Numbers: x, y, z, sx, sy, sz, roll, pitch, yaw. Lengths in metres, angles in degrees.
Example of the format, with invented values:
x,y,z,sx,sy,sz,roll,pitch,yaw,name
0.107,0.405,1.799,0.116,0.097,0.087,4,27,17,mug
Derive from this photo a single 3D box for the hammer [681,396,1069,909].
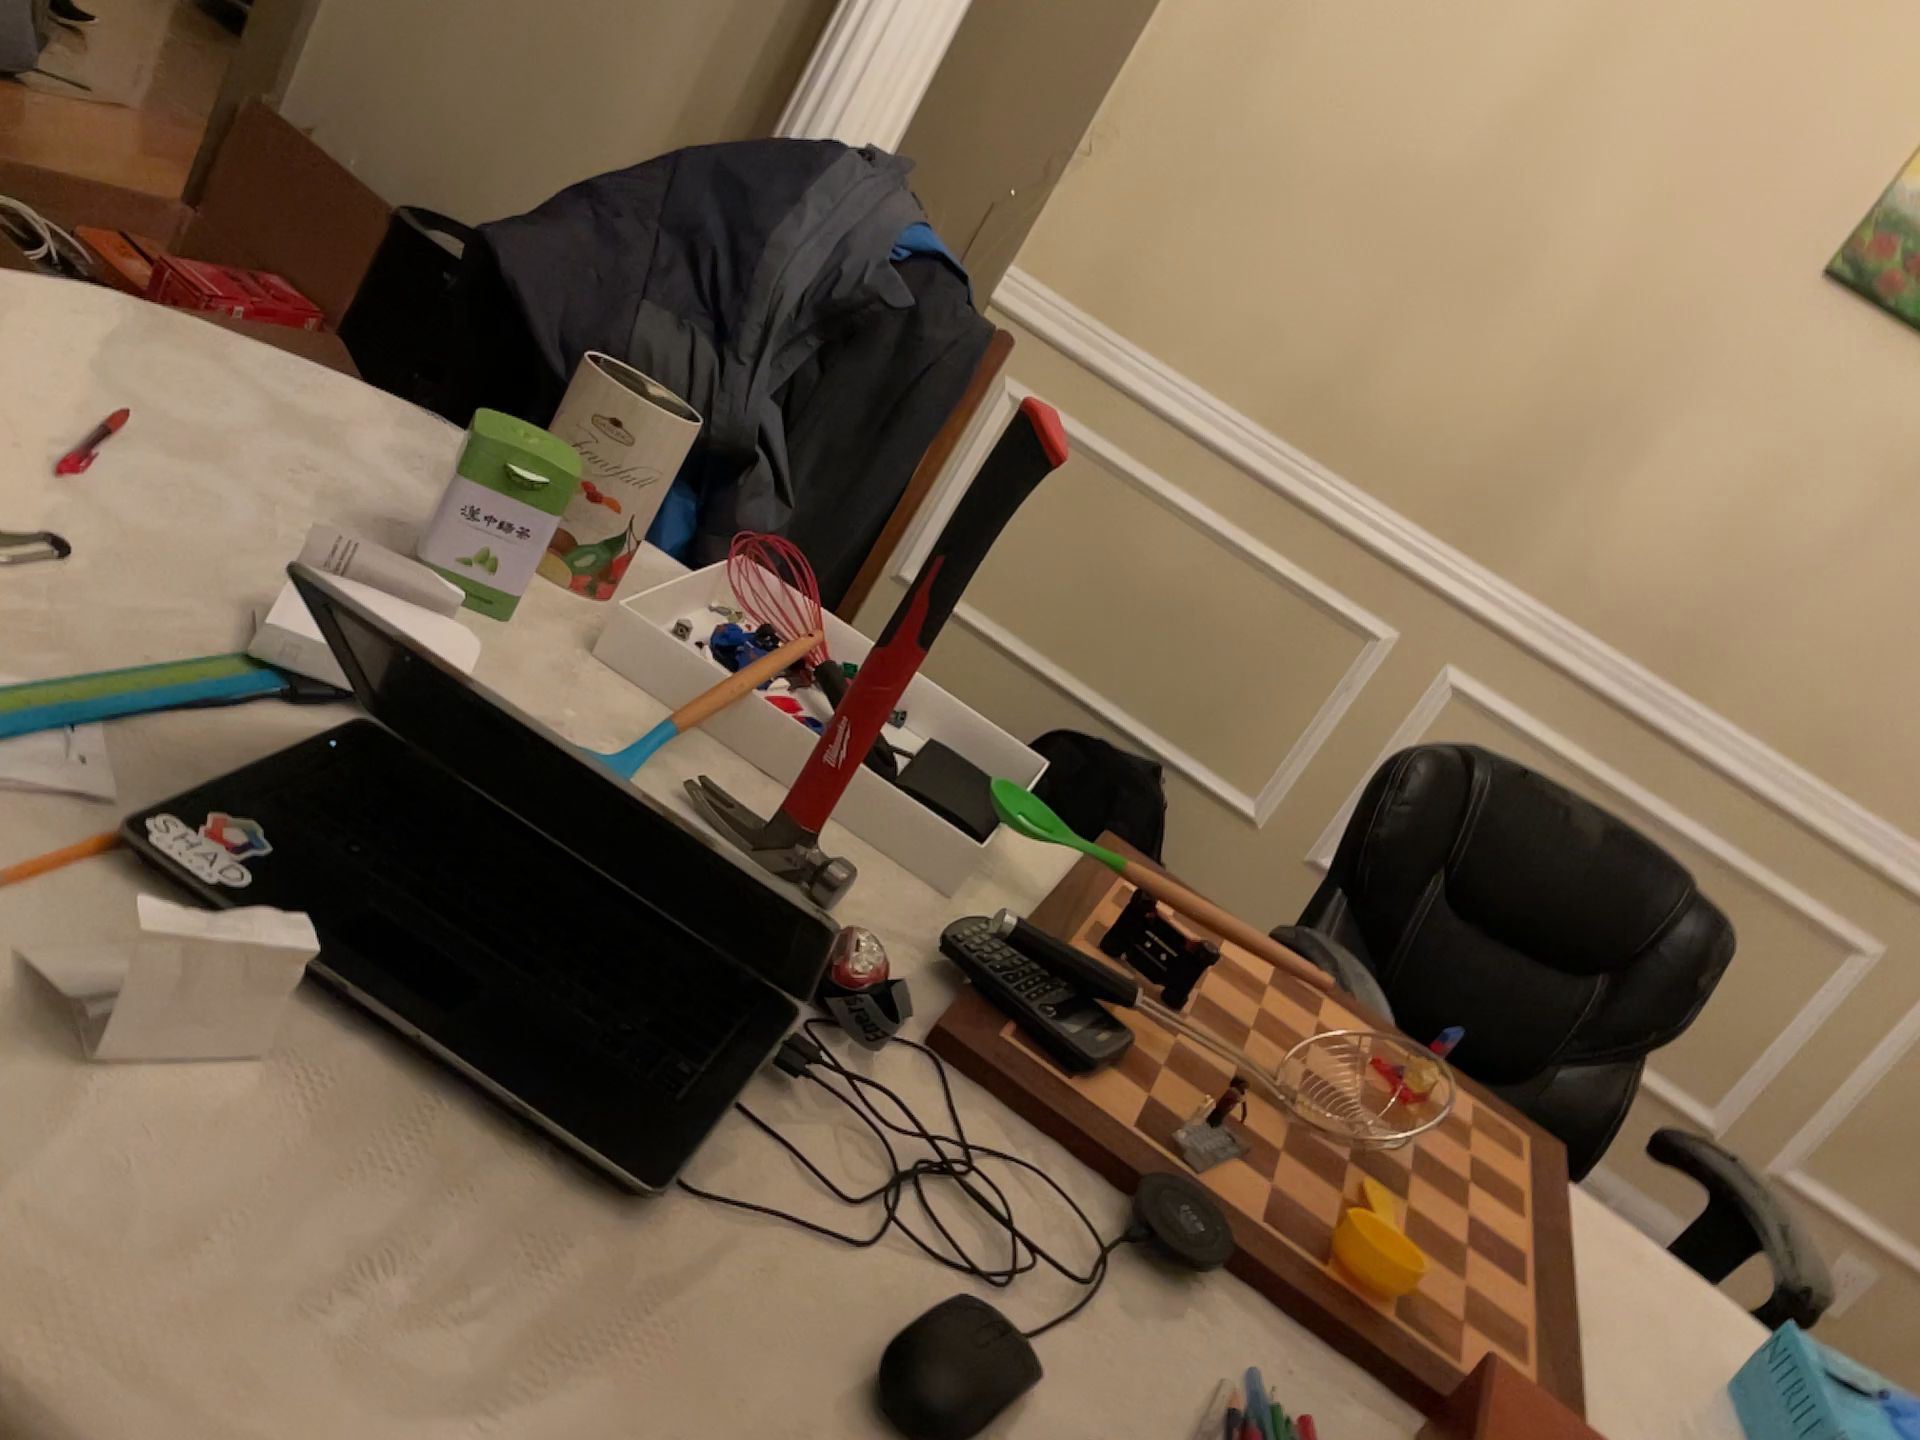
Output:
x,y,z,sx,sy,sz,roll,pitch,yaw,name
-0.053,-0.058,1.096,0.143,0.386,0.038,36,20,11,hammer

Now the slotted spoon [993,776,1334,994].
x,y,z,sx,sy,sz,roll,pitch,yaw,name
0.154,0.131,1.262,0.314,0.031,0.070,29,16,21,slotted spoon

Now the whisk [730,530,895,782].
x,y,z,sx,sy,sz,roll,pitch,yaw,name
-0.132,-0.061,1.431,0.073,0.073,0.296,-10,57,-36,whisk

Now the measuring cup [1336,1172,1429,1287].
x,y,z,sx,sy,sz,roll,pitch,yaw,name
0.287,0.349,1.103,0.062,0.029,0.156,32,7,9,measuring cup

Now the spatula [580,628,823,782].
x,y,z,sx,sy,sz,roll,pitch,yaw,name
-0.198,-0.012,1.200,0.082,0.044,0.317,35,41,14,spatula

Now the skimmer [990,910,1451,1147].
x,y,z,sx,sy,sz,roll,pitch,yaw,name
0.194,0.211,1.169,0.363,0.090,0.127,31,21,-15,skimmer
